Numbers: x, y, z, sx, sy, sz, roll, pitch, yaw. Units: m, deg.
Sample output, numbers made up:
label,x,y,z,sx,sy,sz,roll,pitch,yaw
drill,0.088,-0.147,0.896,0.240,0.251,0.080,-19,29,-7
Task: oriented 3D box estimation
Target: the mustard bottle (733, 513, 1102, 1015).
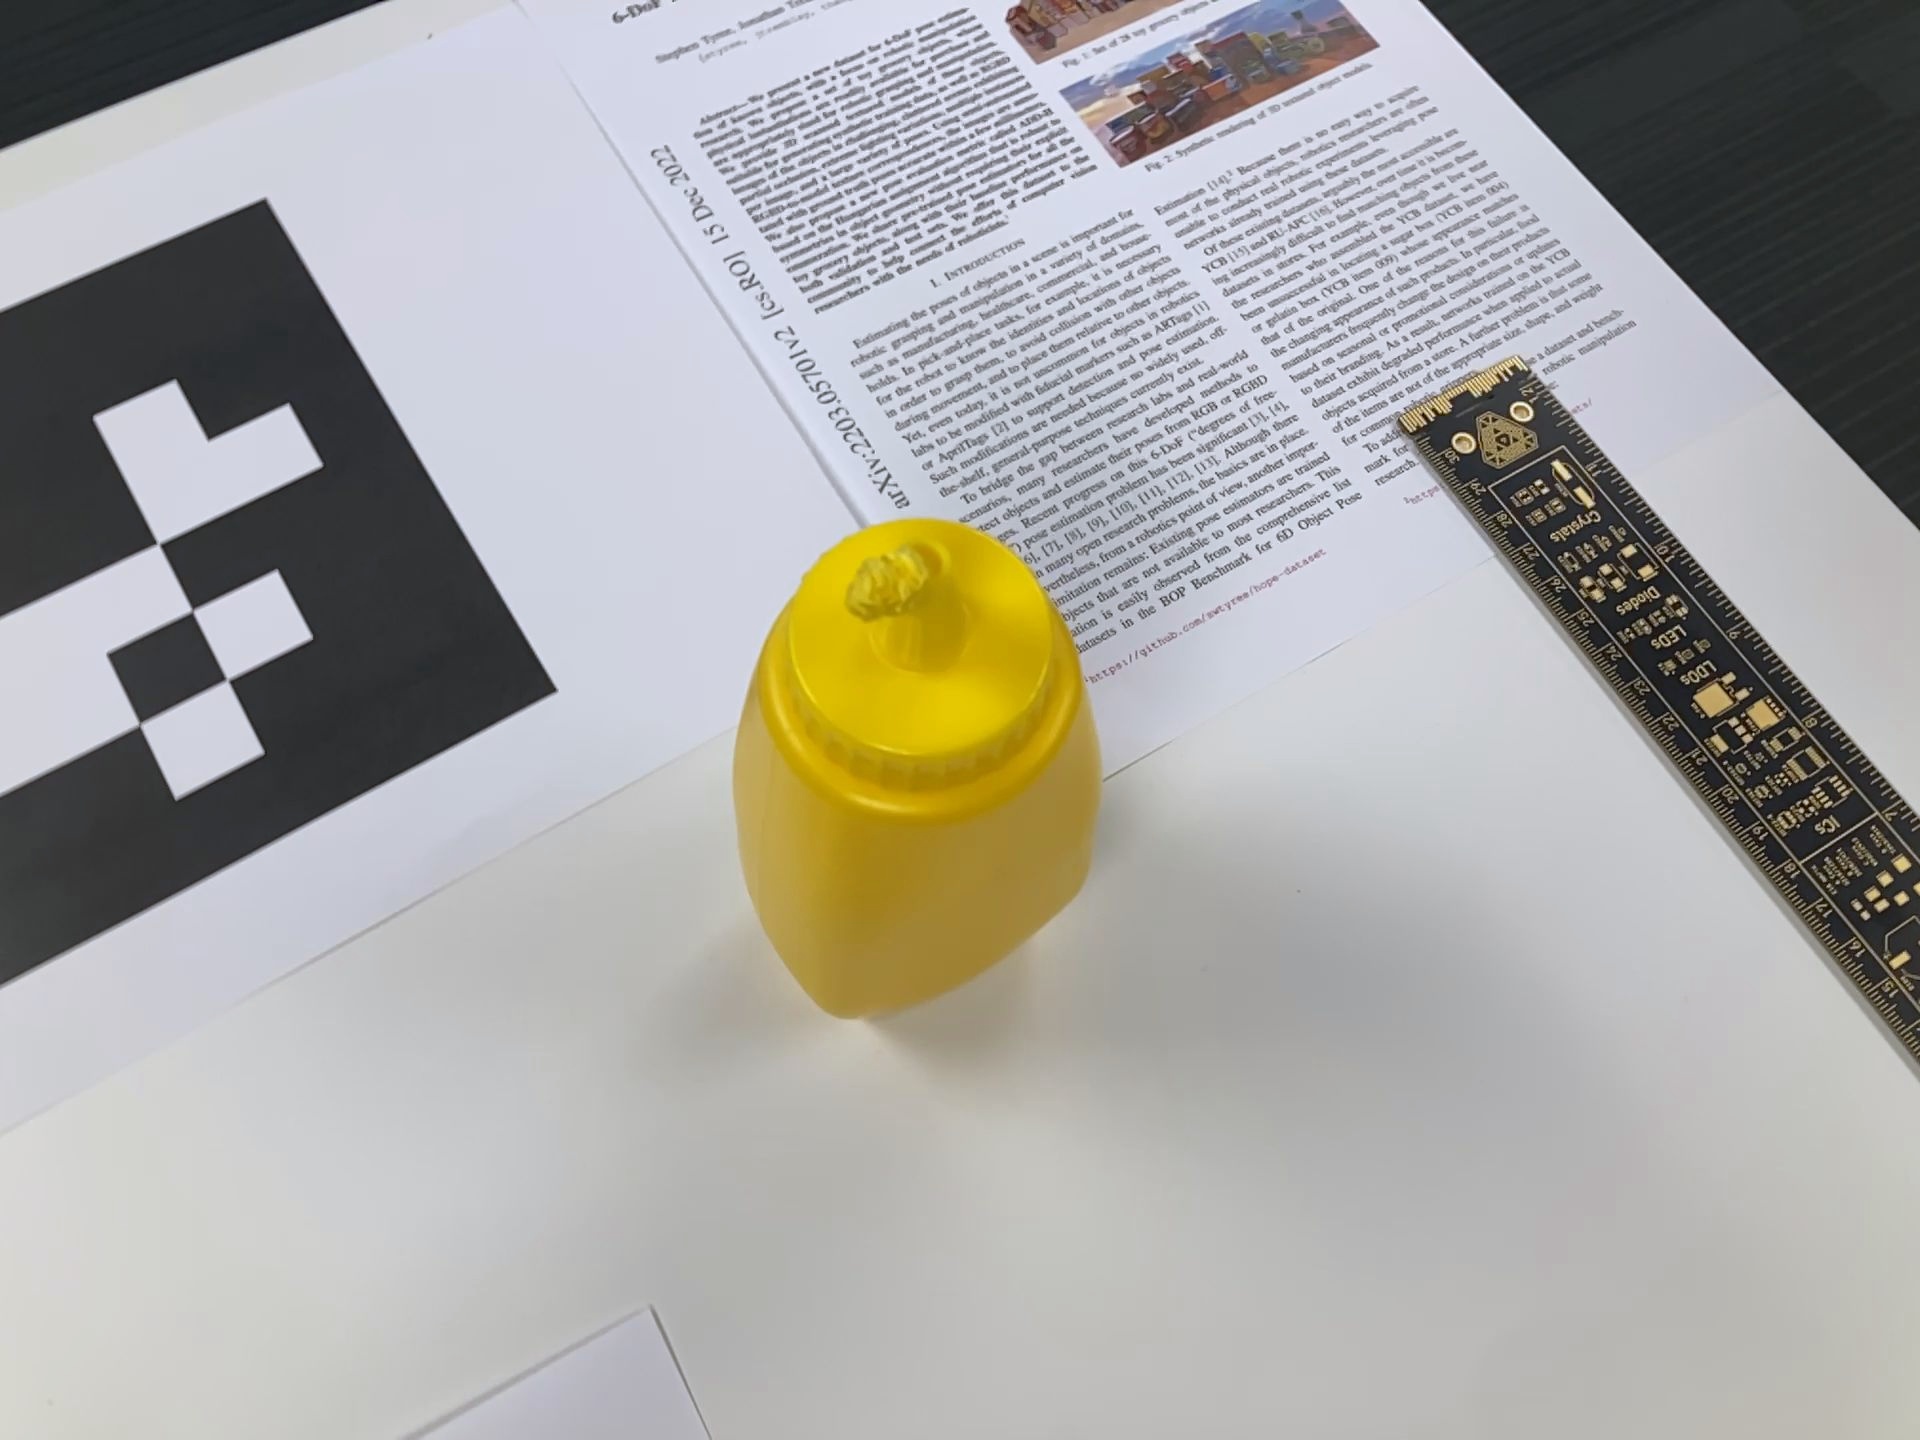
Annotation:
label,x,y,z,sx,sy,sz,roll,pitch,yaw
mustard bottle,-0.007,0.006,0.268,0.065,0.160,0.049,-25,69,-13
